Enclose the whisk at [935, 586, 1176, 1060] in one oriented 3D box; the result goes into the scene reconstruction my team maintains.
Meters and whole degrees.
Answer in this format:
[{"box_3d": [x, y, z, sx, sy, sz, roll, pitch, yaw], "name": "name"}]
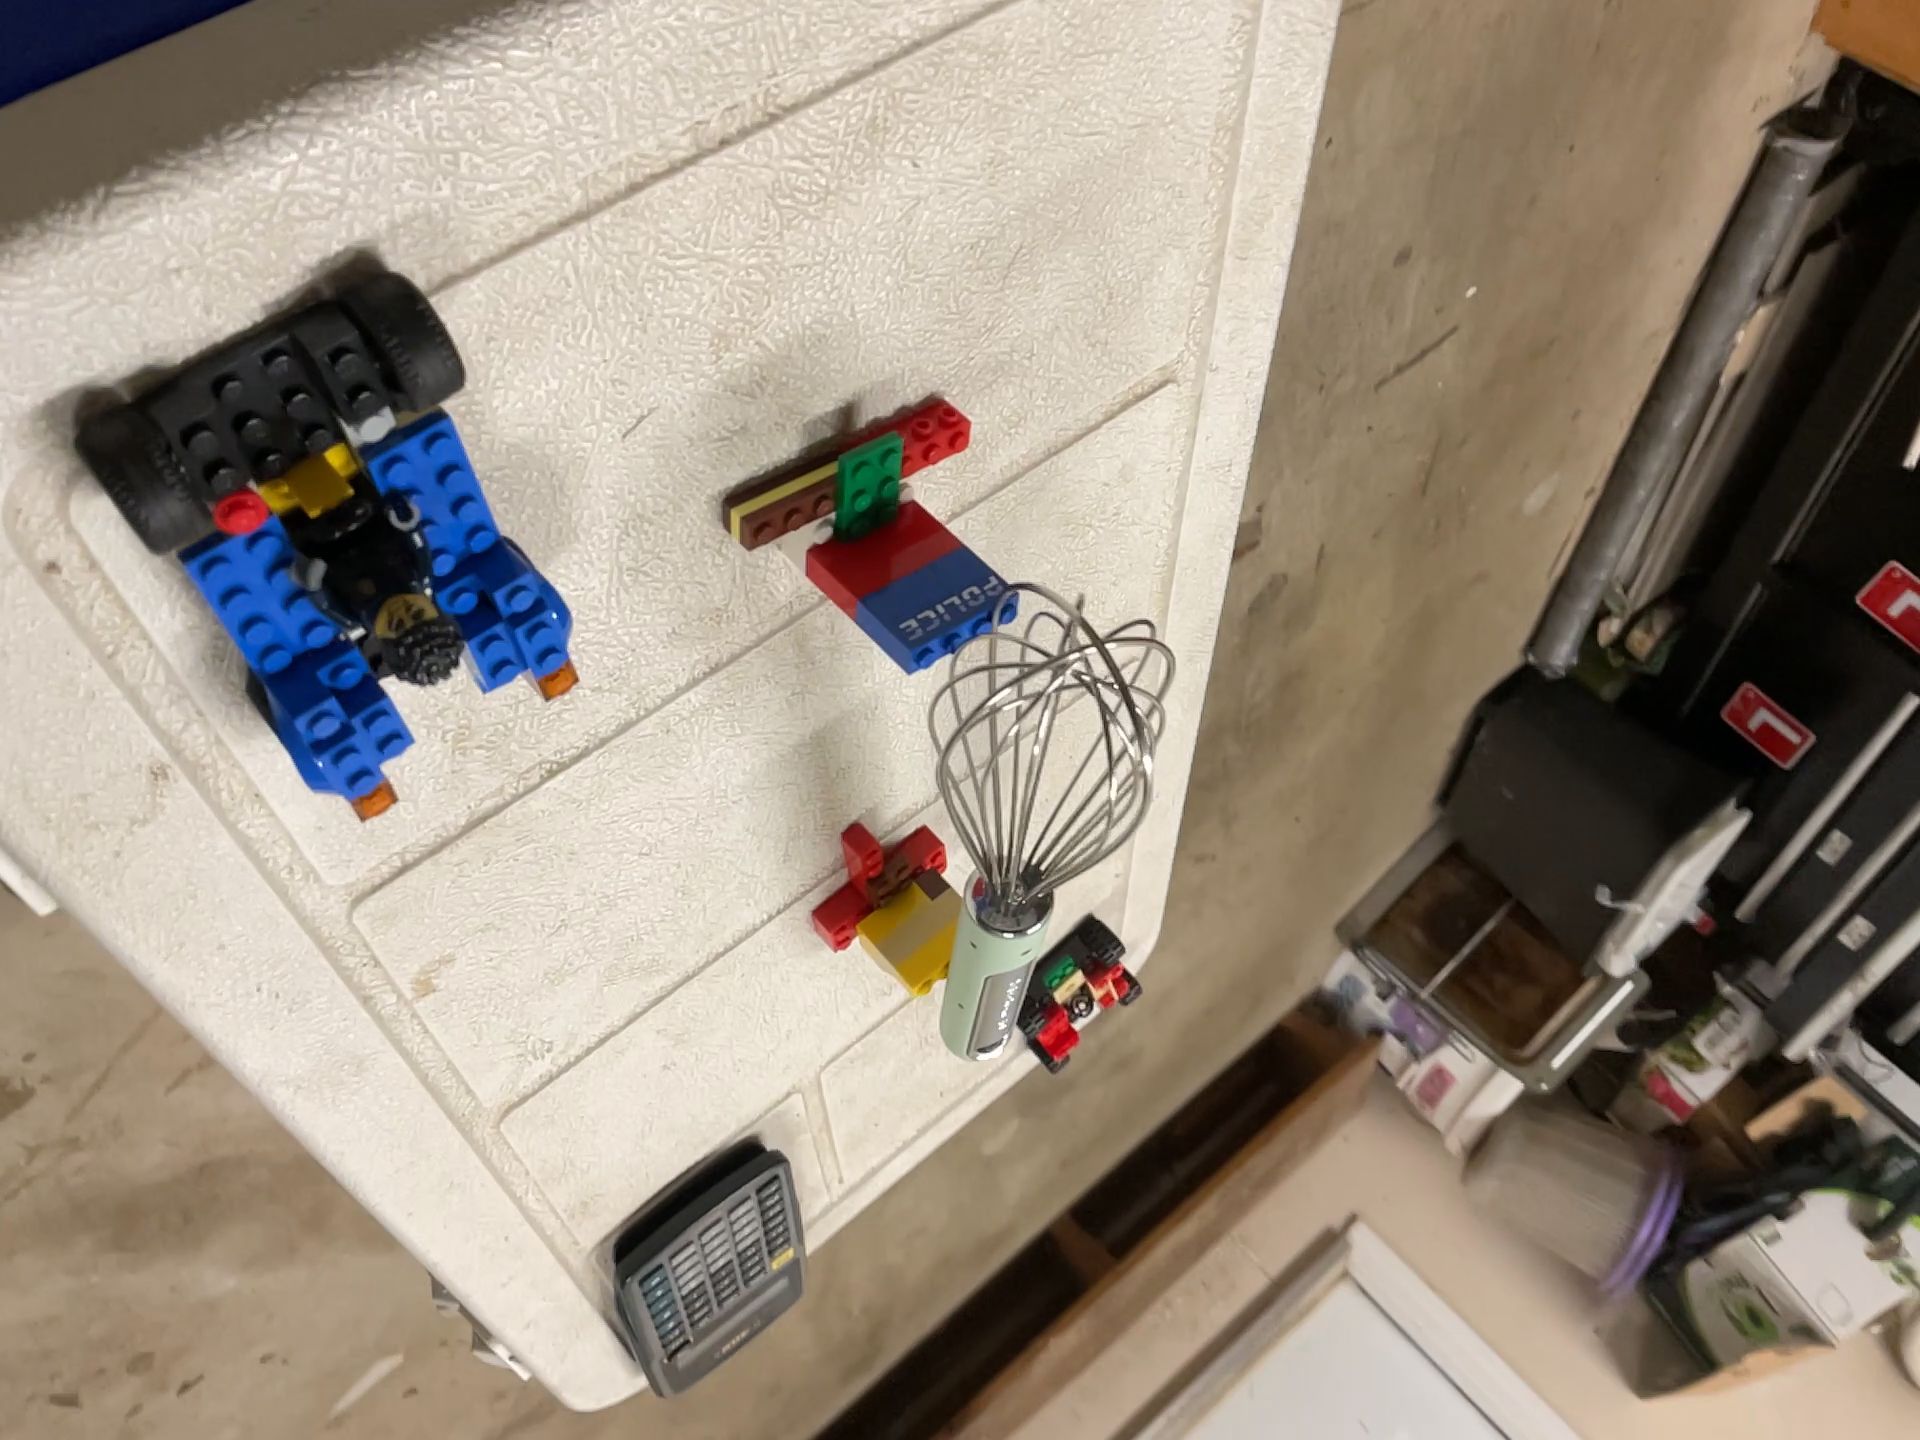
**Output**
[{"box_3d": [0.014, 0.044, 0.428, 0.058, 0.059, 0.246, -27, 156, -19], "name": "whisk"}]
